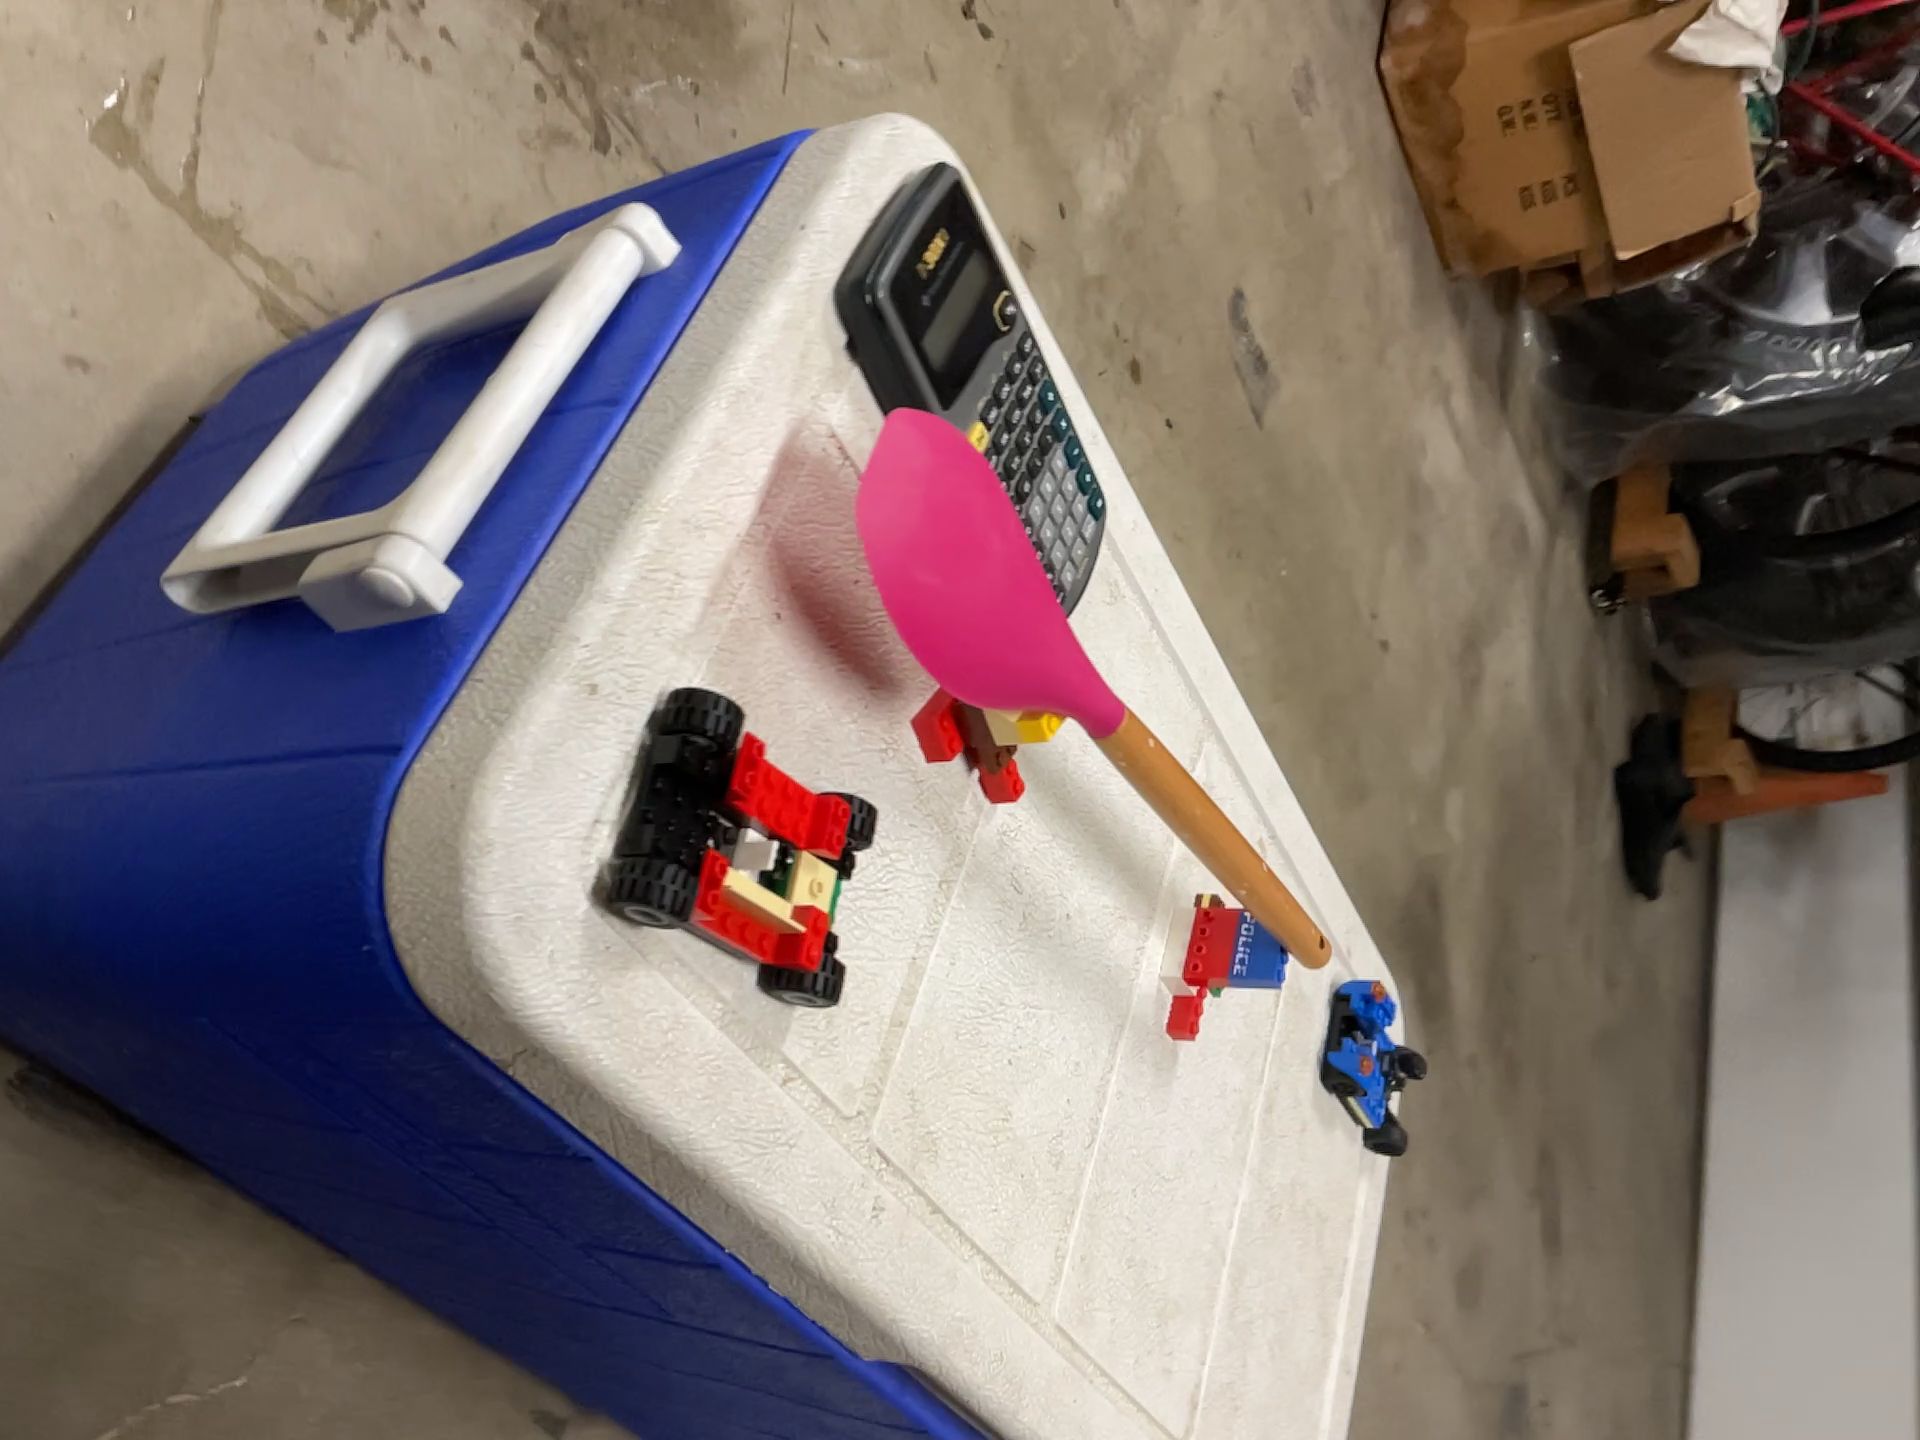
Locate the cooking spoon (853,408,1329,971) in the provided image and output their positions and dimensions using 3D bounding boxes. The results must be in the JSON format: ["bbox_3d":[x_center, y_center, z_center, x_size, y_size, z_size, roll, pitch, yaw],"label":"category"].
[{"bbox_3d":[0.059,0.012,0.525,0.318,0.017,0.069,45,54,-44],"label":"cooking spoon"}]
